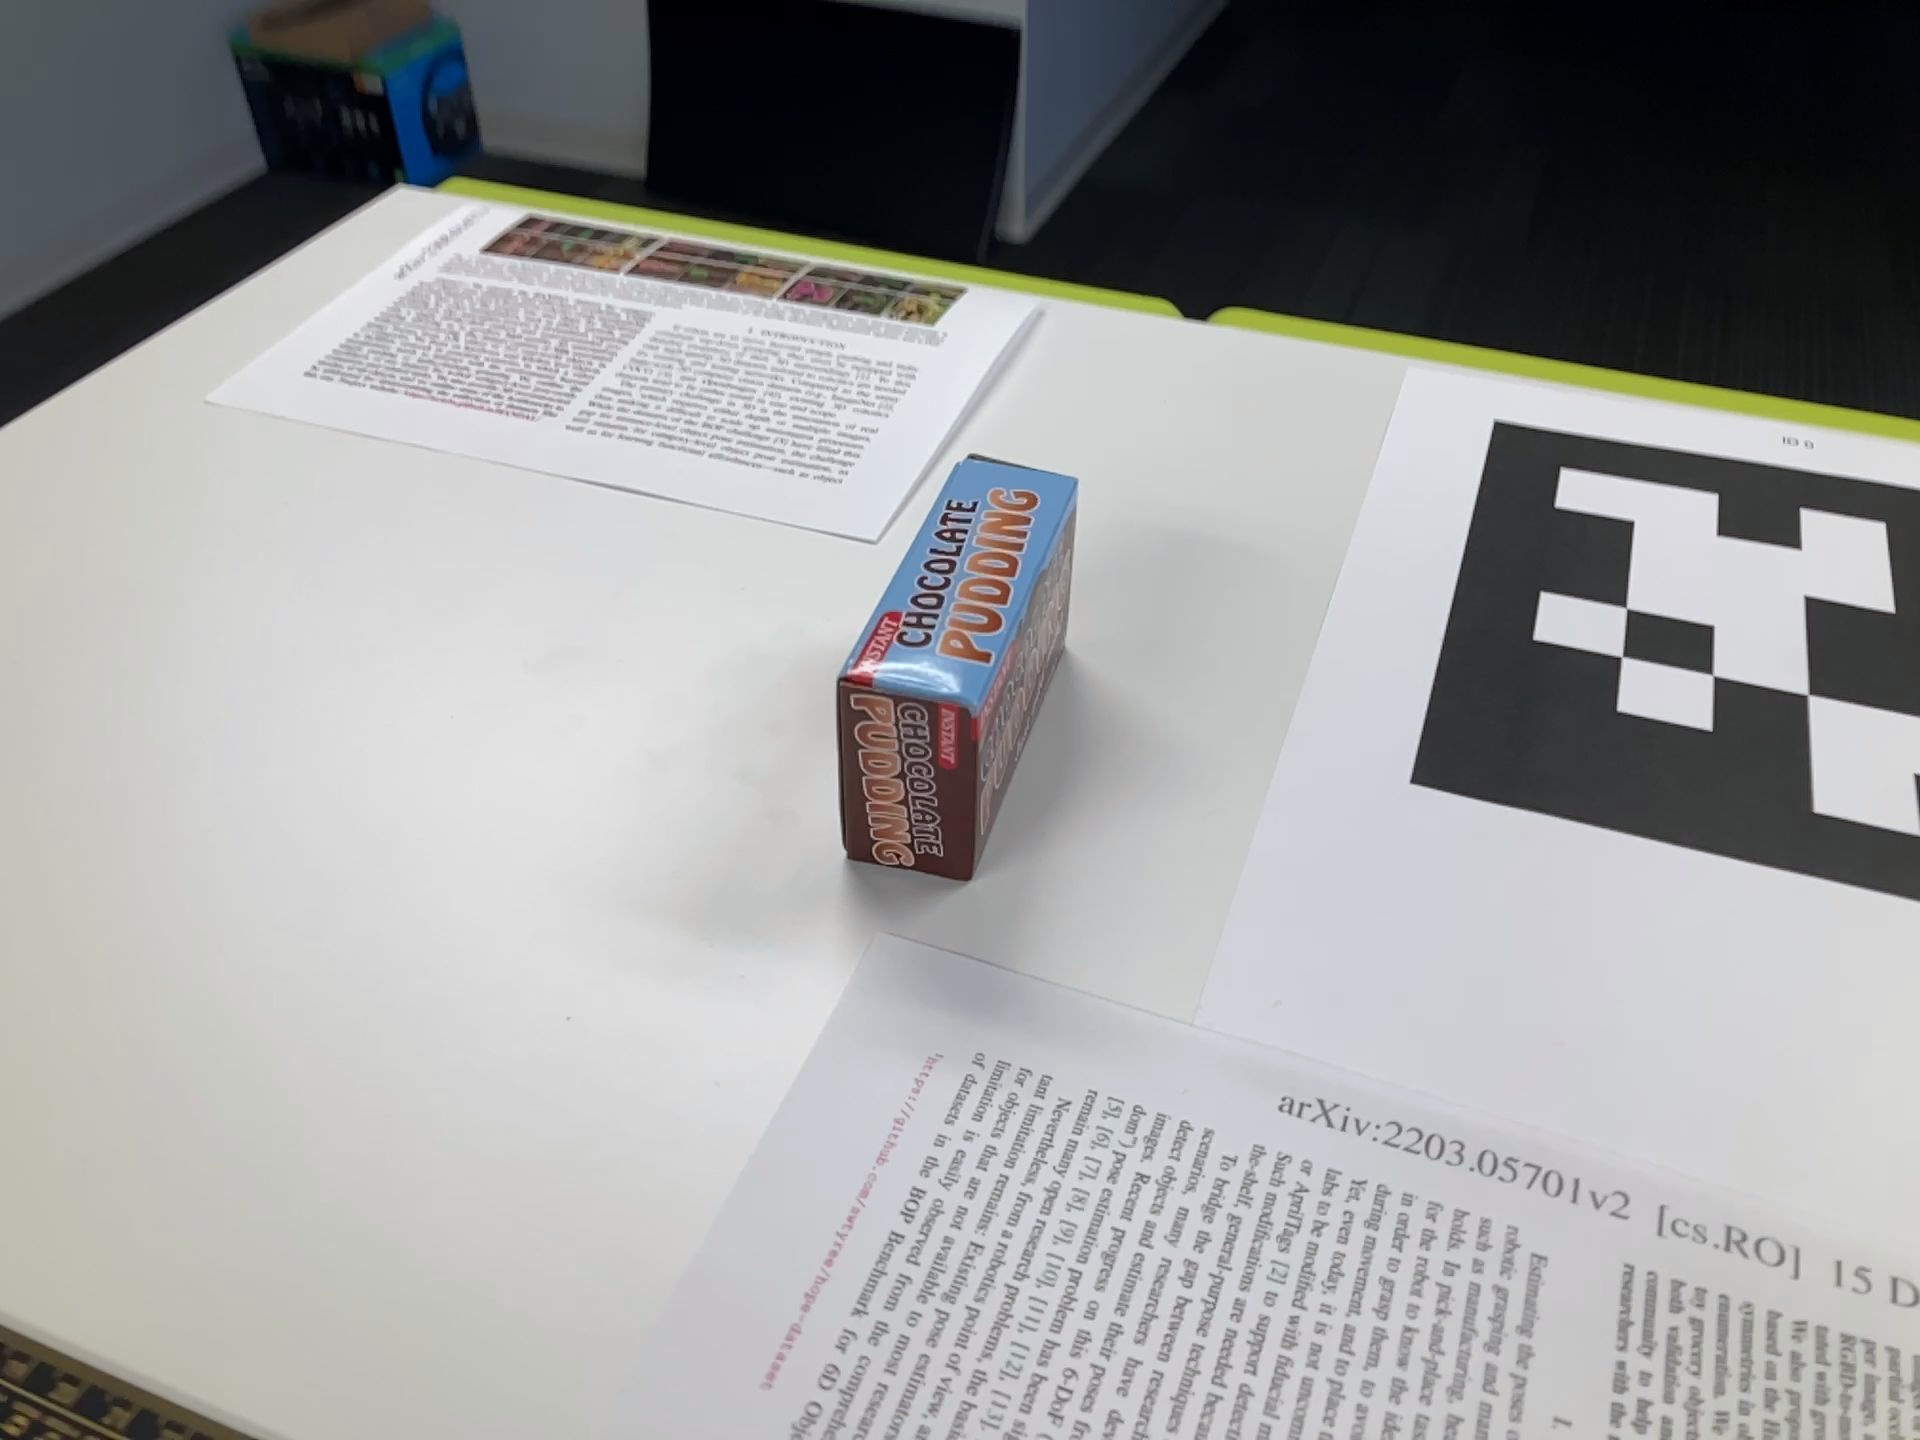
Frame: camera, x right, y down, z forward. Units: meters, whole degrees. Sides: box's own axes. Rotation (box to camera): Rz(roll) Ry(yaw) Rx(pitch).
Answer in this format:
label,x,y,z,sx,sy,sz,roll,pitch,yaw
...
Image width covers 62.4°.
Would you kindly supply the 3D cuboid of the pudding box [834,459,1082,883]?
label,x,y,z,sx,sy,sz,roll,pitch,yaw
pudding box,0.001,-0.013,0.336,0.030,0.049,0.083,12,42,12
